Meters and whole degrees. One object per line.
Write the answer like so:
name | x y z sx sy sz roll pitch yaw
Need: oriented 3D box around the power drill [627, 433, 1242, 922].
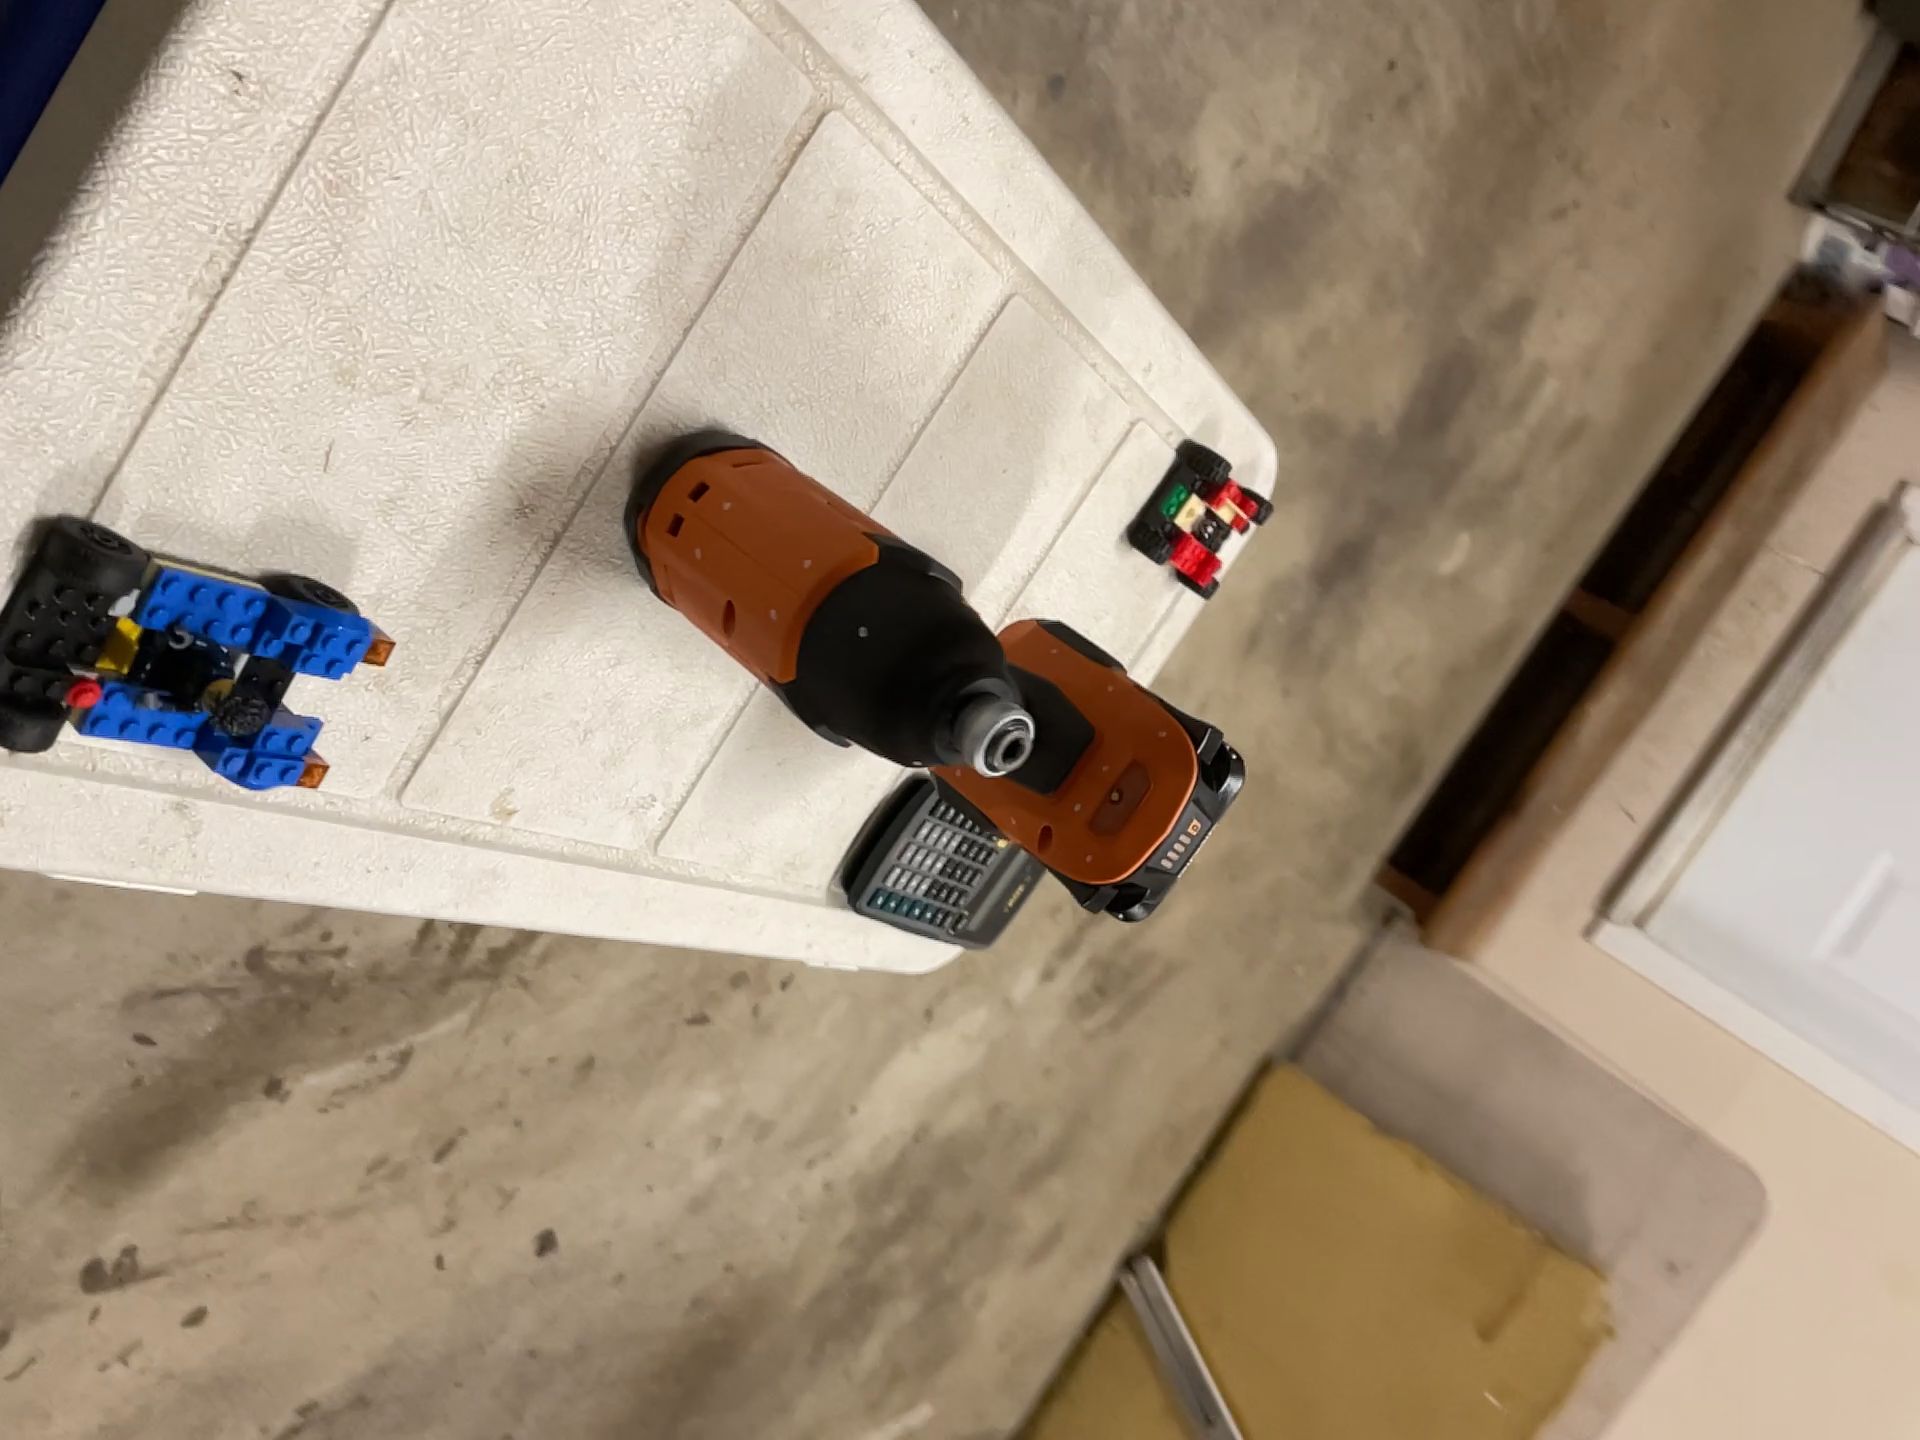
power drill | 0.007 -0.004 0.550 0.084 0.164 0.226 -55 140 3
